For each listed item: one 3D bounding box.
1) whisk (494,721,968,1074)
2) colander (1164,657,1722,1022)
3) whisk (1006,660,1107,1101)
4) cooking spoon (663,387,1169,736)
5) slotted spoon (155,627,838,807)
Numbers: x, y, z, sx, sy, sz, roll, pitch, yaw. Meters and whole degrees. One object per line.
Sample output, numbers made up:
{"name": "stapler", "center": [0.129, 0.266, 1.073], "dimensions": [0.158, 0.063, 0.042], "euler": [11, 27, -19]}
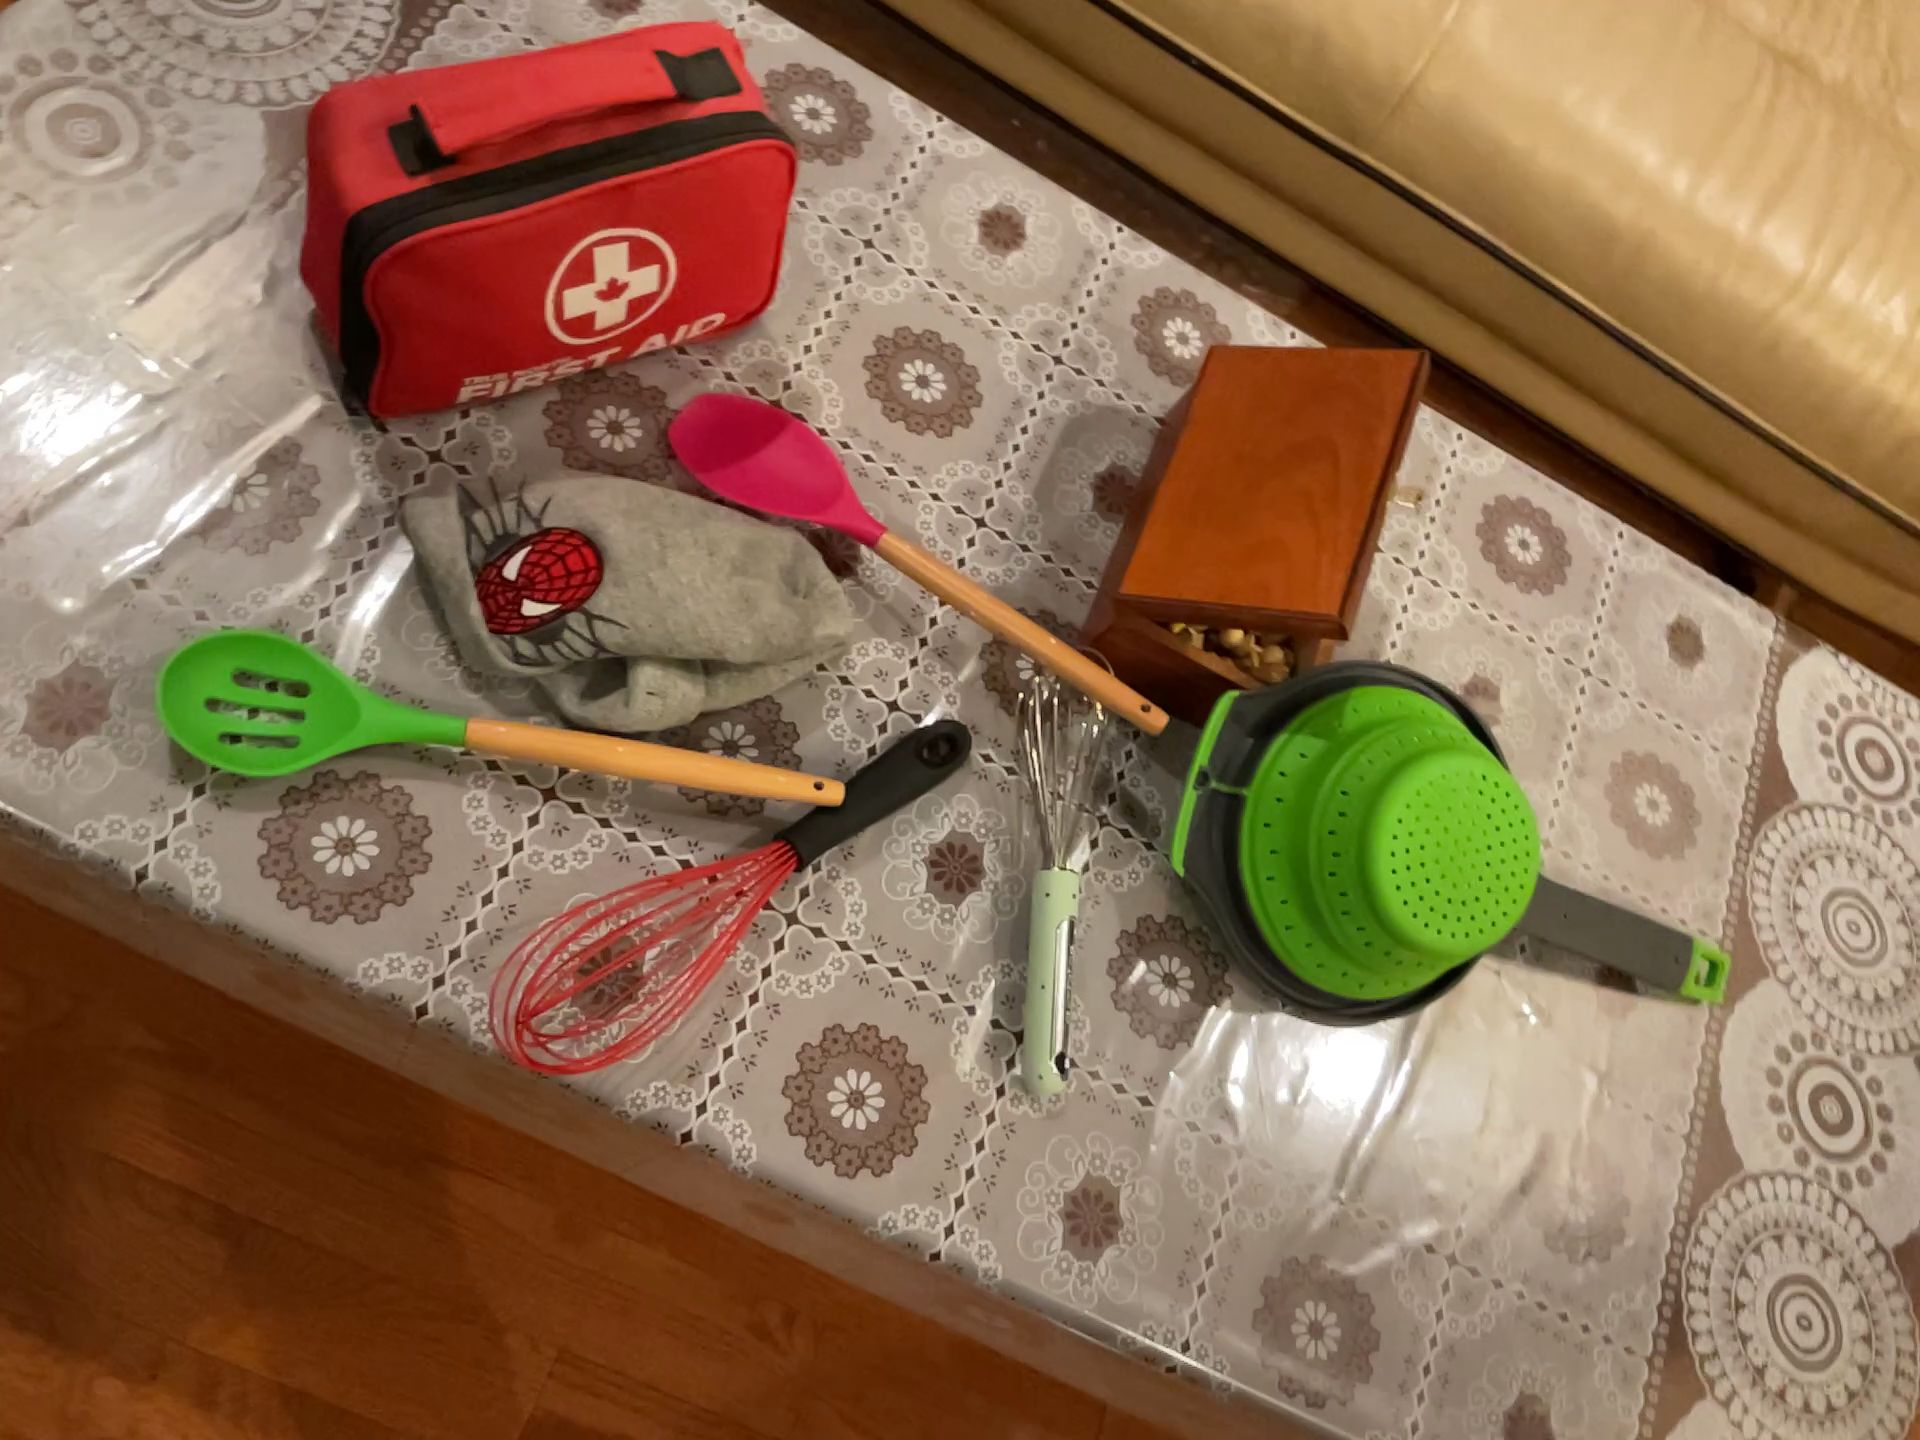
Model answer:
{"name": "whisk", "center": [-0.099, 0.075, 0.779], "dimensions": [0.296, 0.073, 0.073], "euler": [-34, 79, -35]}
{"name": "colander", "center": [0.309, 0.095, 0.888], "dimensions": [0.396, 0.094, 0.204], "euler": [21, 83, -21]}
{"name": "whisk", "center": [0.049, 0.078, 0.848], "dimensions": [0.058, 0.059, 0.246], "euler": [-5, 68, 21]}
{"name": "cooking spoon", "center": [-0.024, -0.084, 0.860], "dimensions": [0.319, 0.017, 0.069], "euler": [34, 62, 6]}
{"name": "slotted spoon", "center": [-0.212, 0.012, 0.760], "dimensions": [0.313, 0.031, 0.070], "euler": [10, 66, -15]}
